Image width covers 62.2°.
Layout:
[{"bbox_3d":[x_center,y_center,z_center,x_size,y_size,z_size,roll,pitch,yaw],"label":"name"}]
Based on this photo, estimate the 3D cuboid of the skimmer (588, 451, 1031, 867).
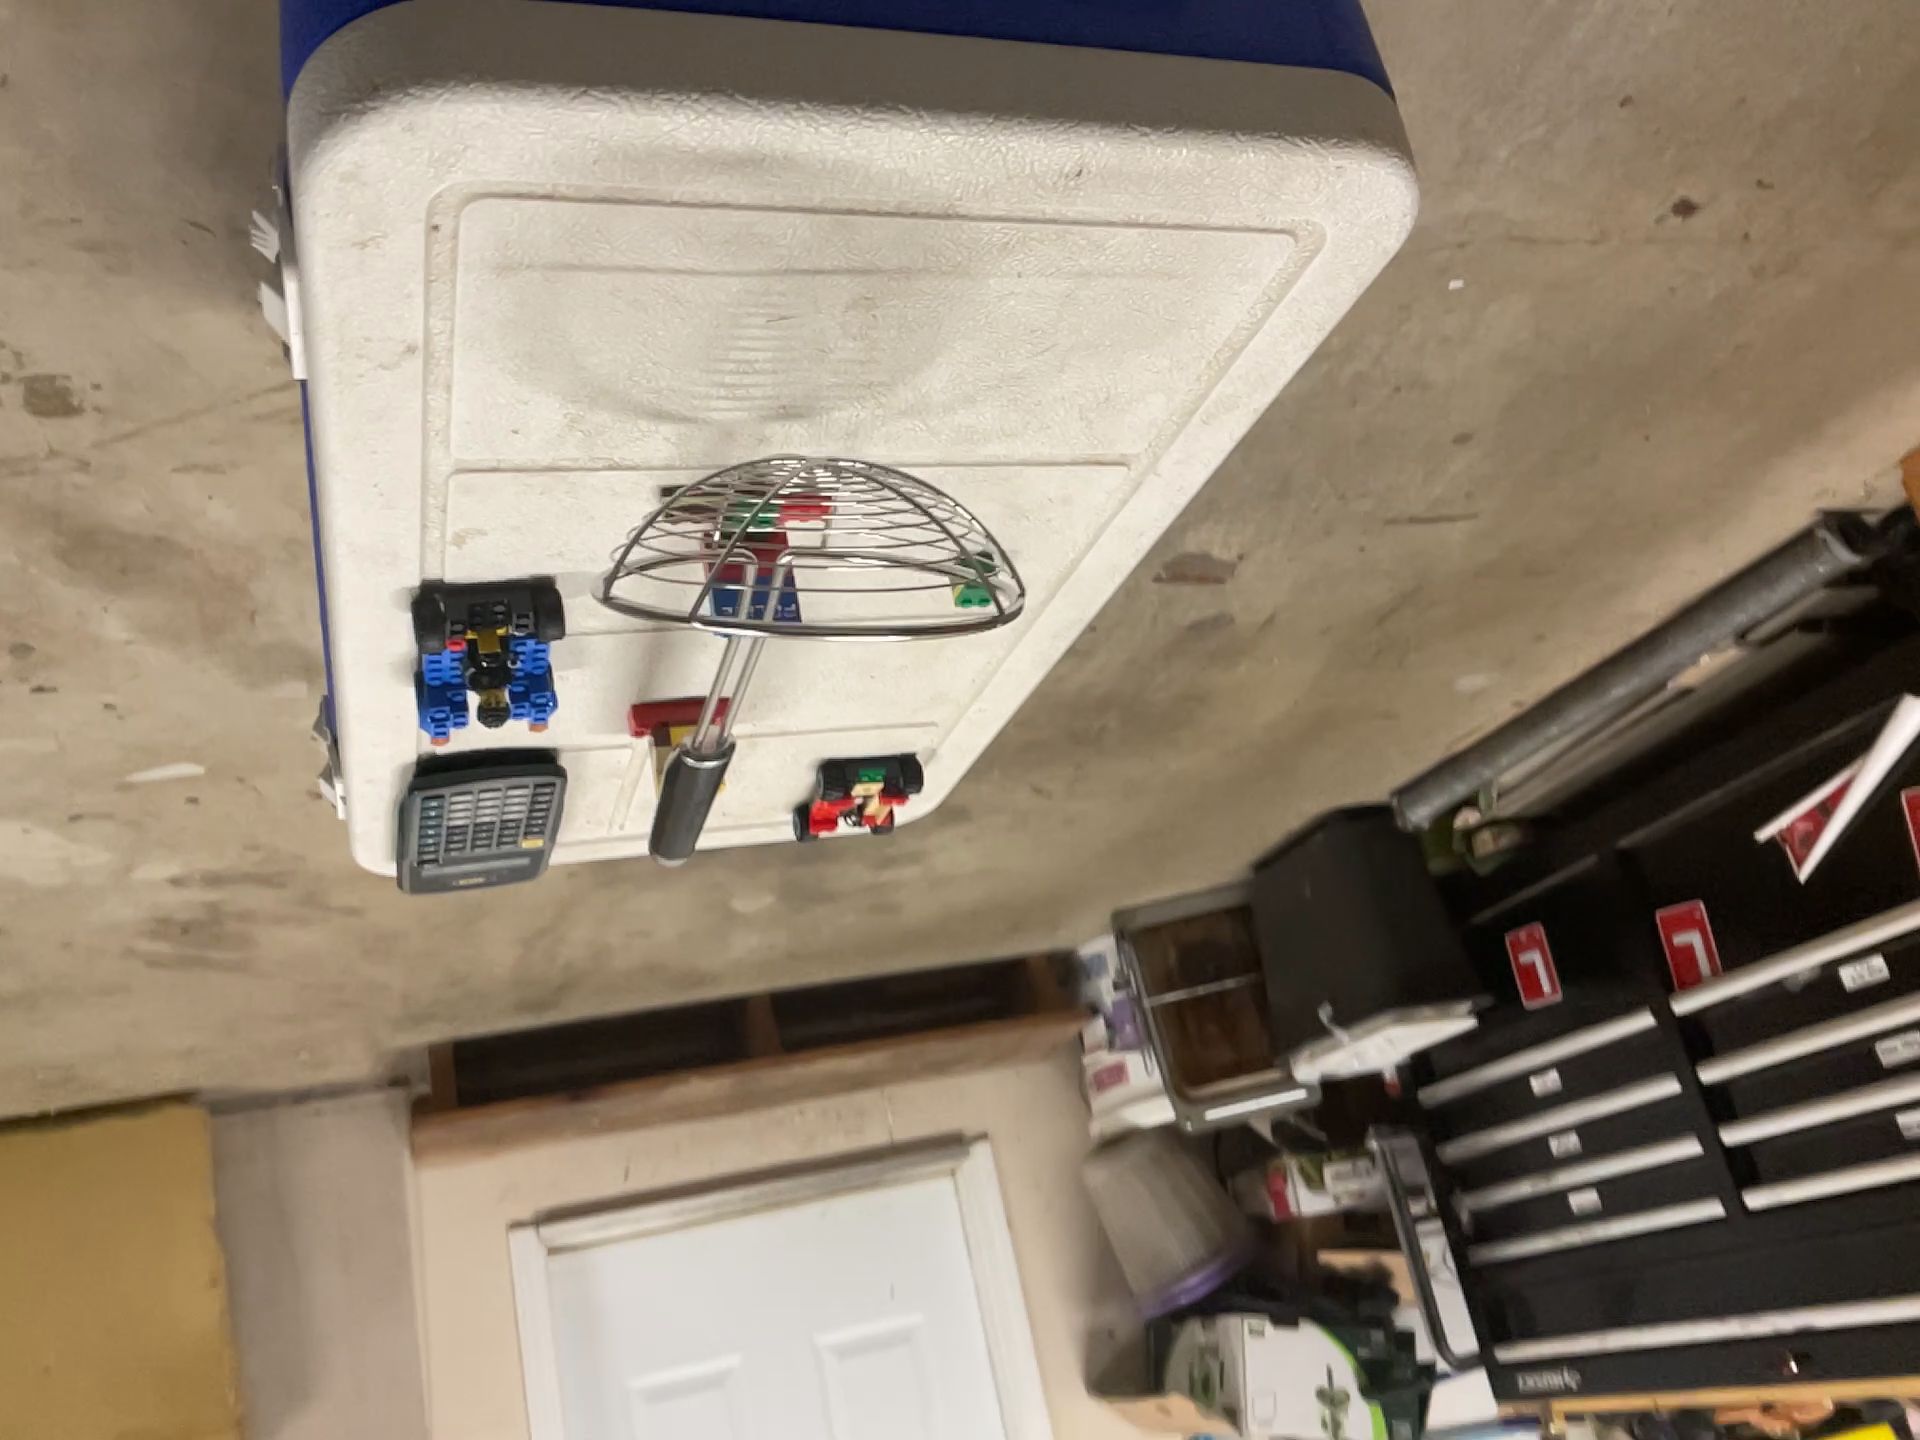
[{"bbox_3d":[-0.081,0.012,0.578,0.127,0.090,0.362,-3,157,-19],"label":"skimmer"}]
